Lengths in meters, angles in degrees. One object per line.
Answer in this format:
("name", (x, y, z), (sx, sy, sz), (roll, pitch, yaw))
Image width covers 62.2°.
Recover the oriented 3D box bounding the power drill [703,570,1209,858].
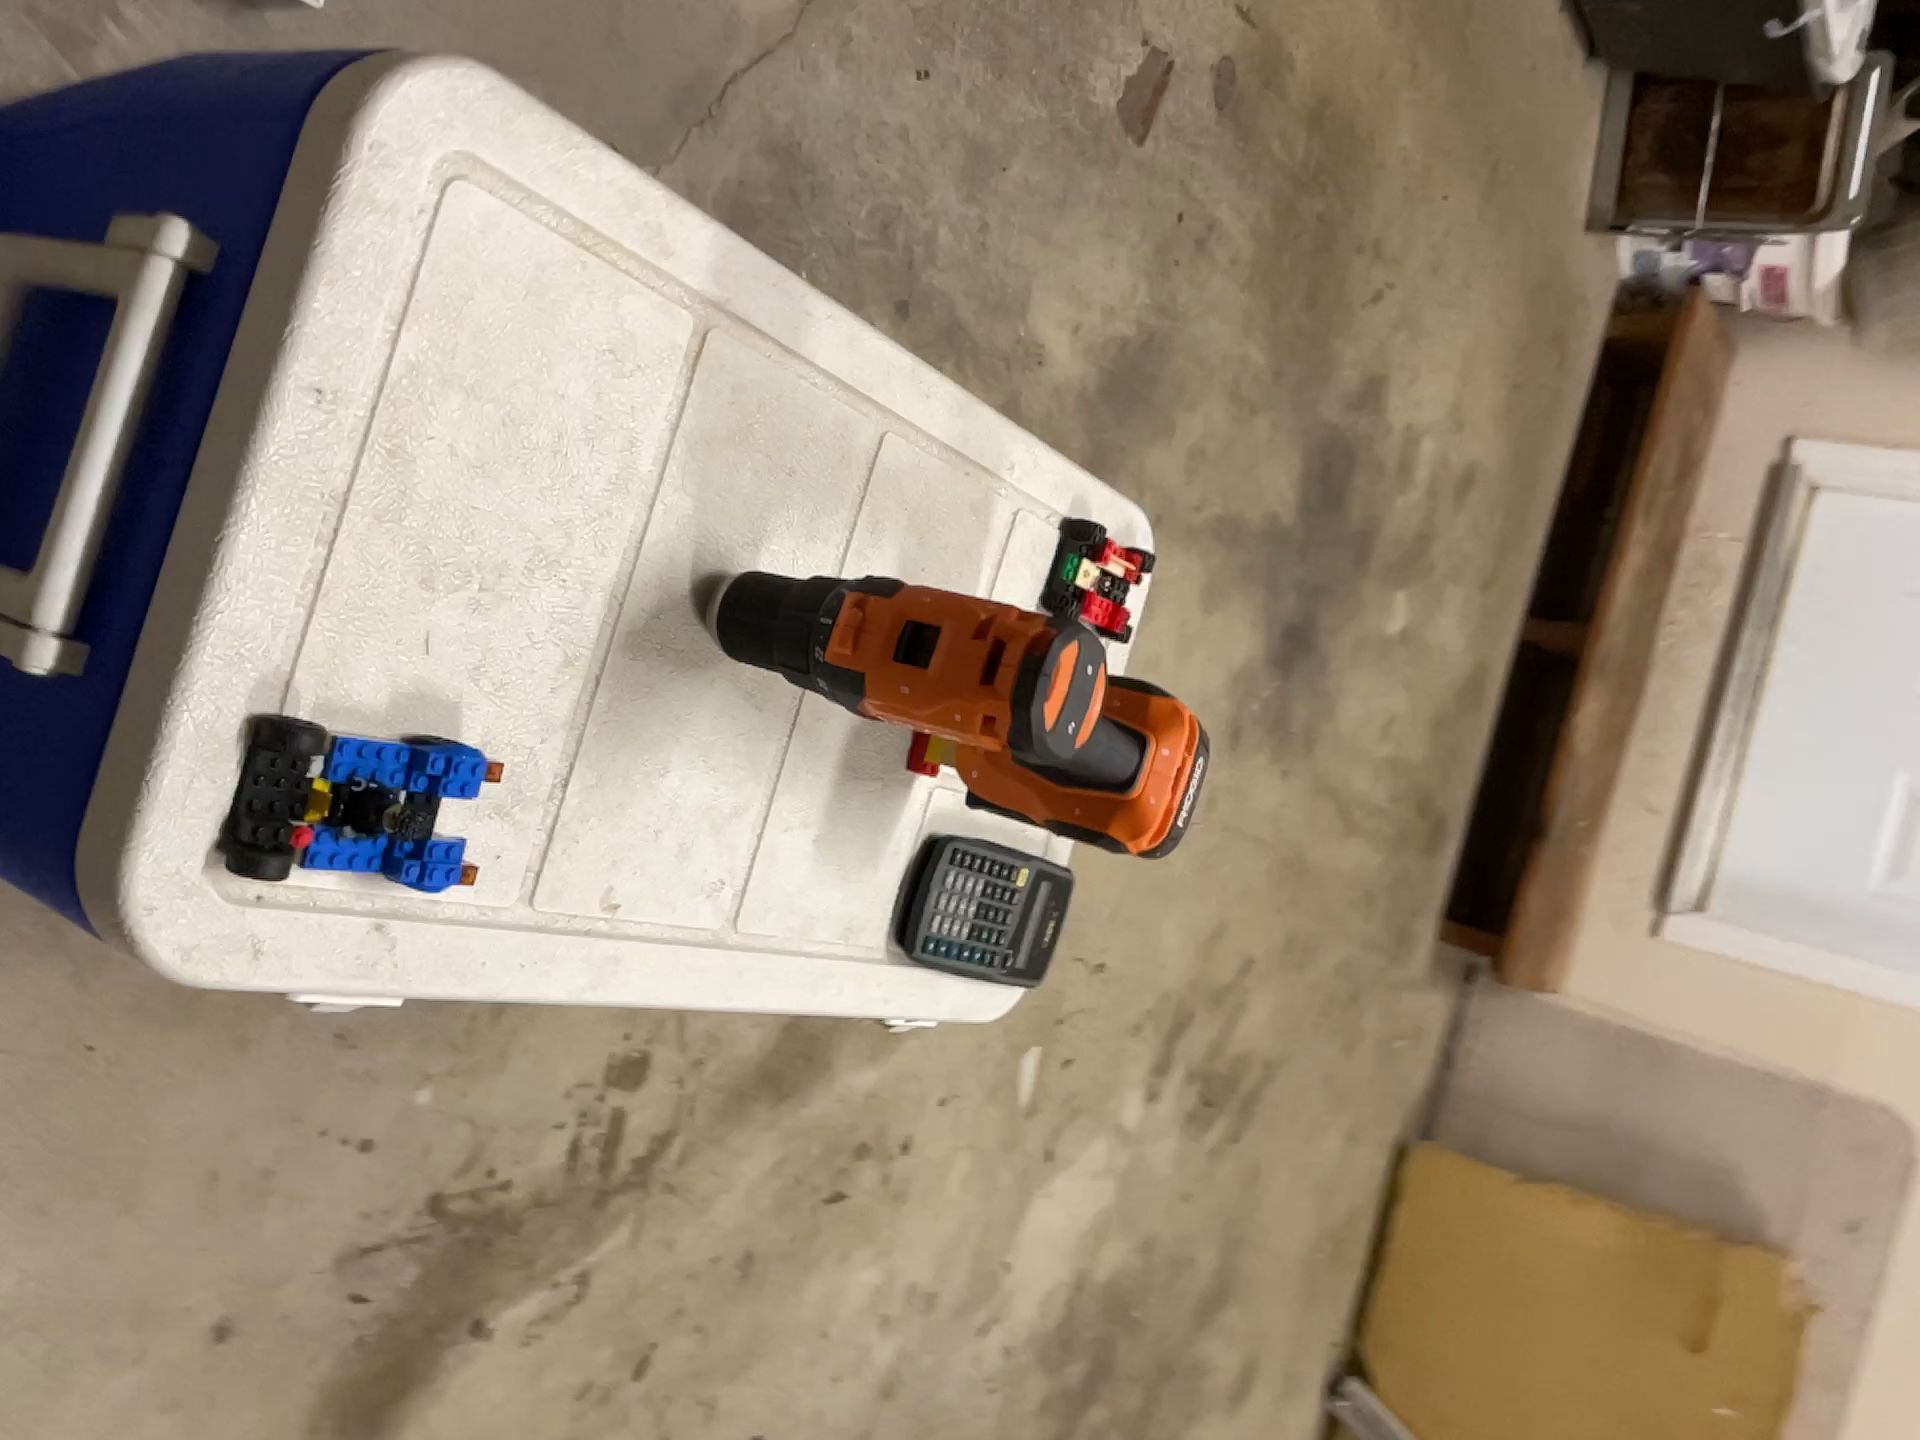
("power drill", (0.003, -0.008, 0.738), (0.226, 0.185, 0.084), (31, 75, -60))
